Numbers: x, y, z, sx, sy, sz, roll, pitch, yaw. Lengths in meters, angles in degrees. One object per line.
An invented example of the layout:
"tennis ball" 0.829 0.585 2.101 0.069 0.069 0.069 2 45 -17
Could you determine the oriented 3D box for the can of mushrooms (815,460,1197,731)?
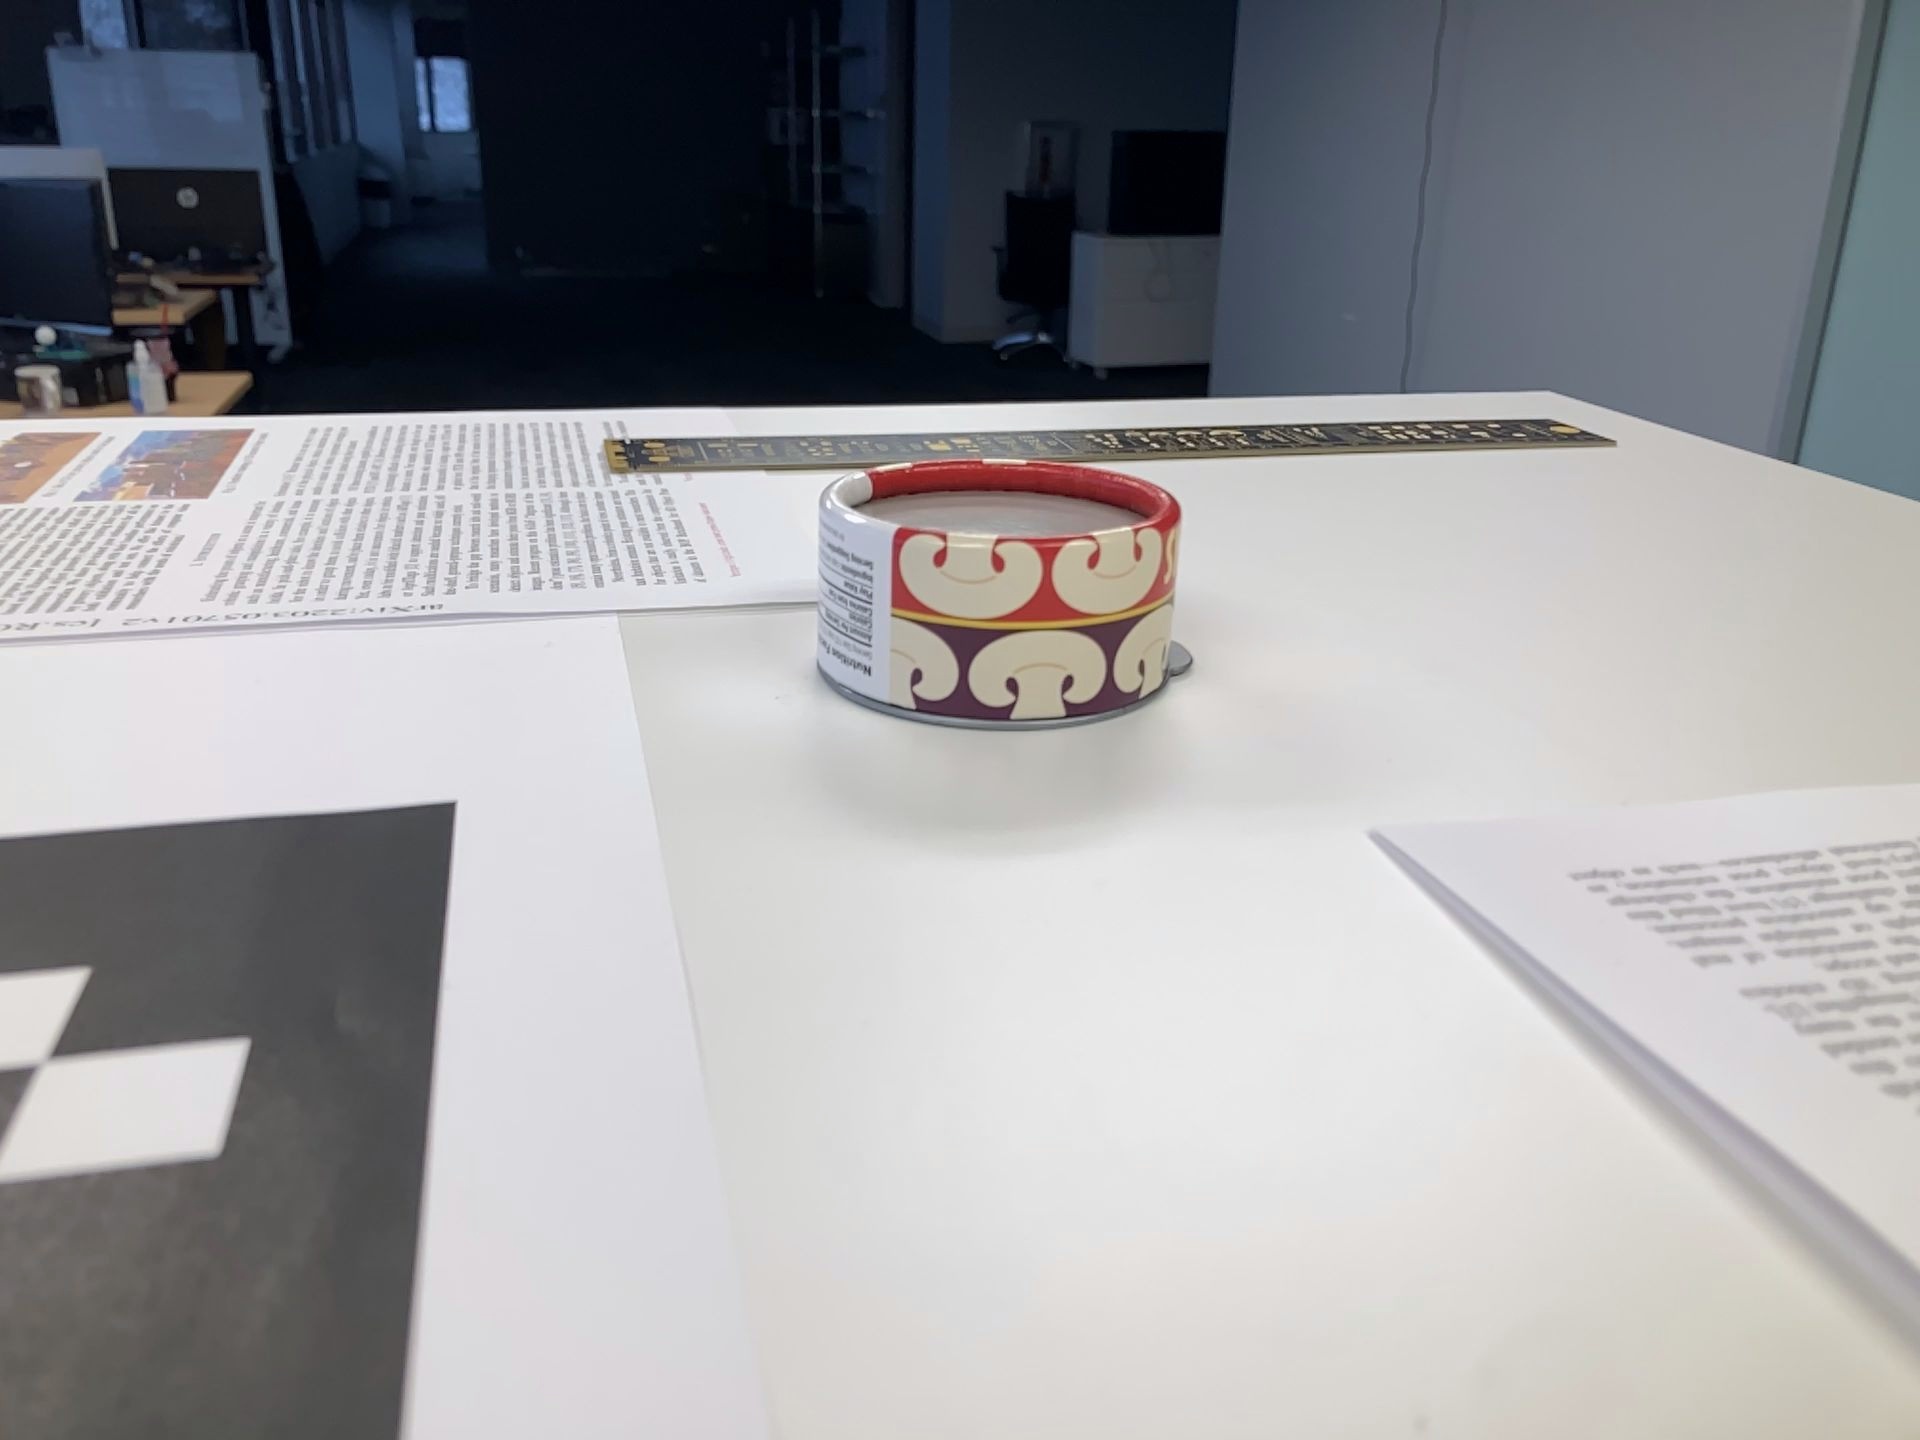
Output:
"can of mushrooms" 0.009 -0.025 0.288 0.071 0.033 0.071 2 20 -1
